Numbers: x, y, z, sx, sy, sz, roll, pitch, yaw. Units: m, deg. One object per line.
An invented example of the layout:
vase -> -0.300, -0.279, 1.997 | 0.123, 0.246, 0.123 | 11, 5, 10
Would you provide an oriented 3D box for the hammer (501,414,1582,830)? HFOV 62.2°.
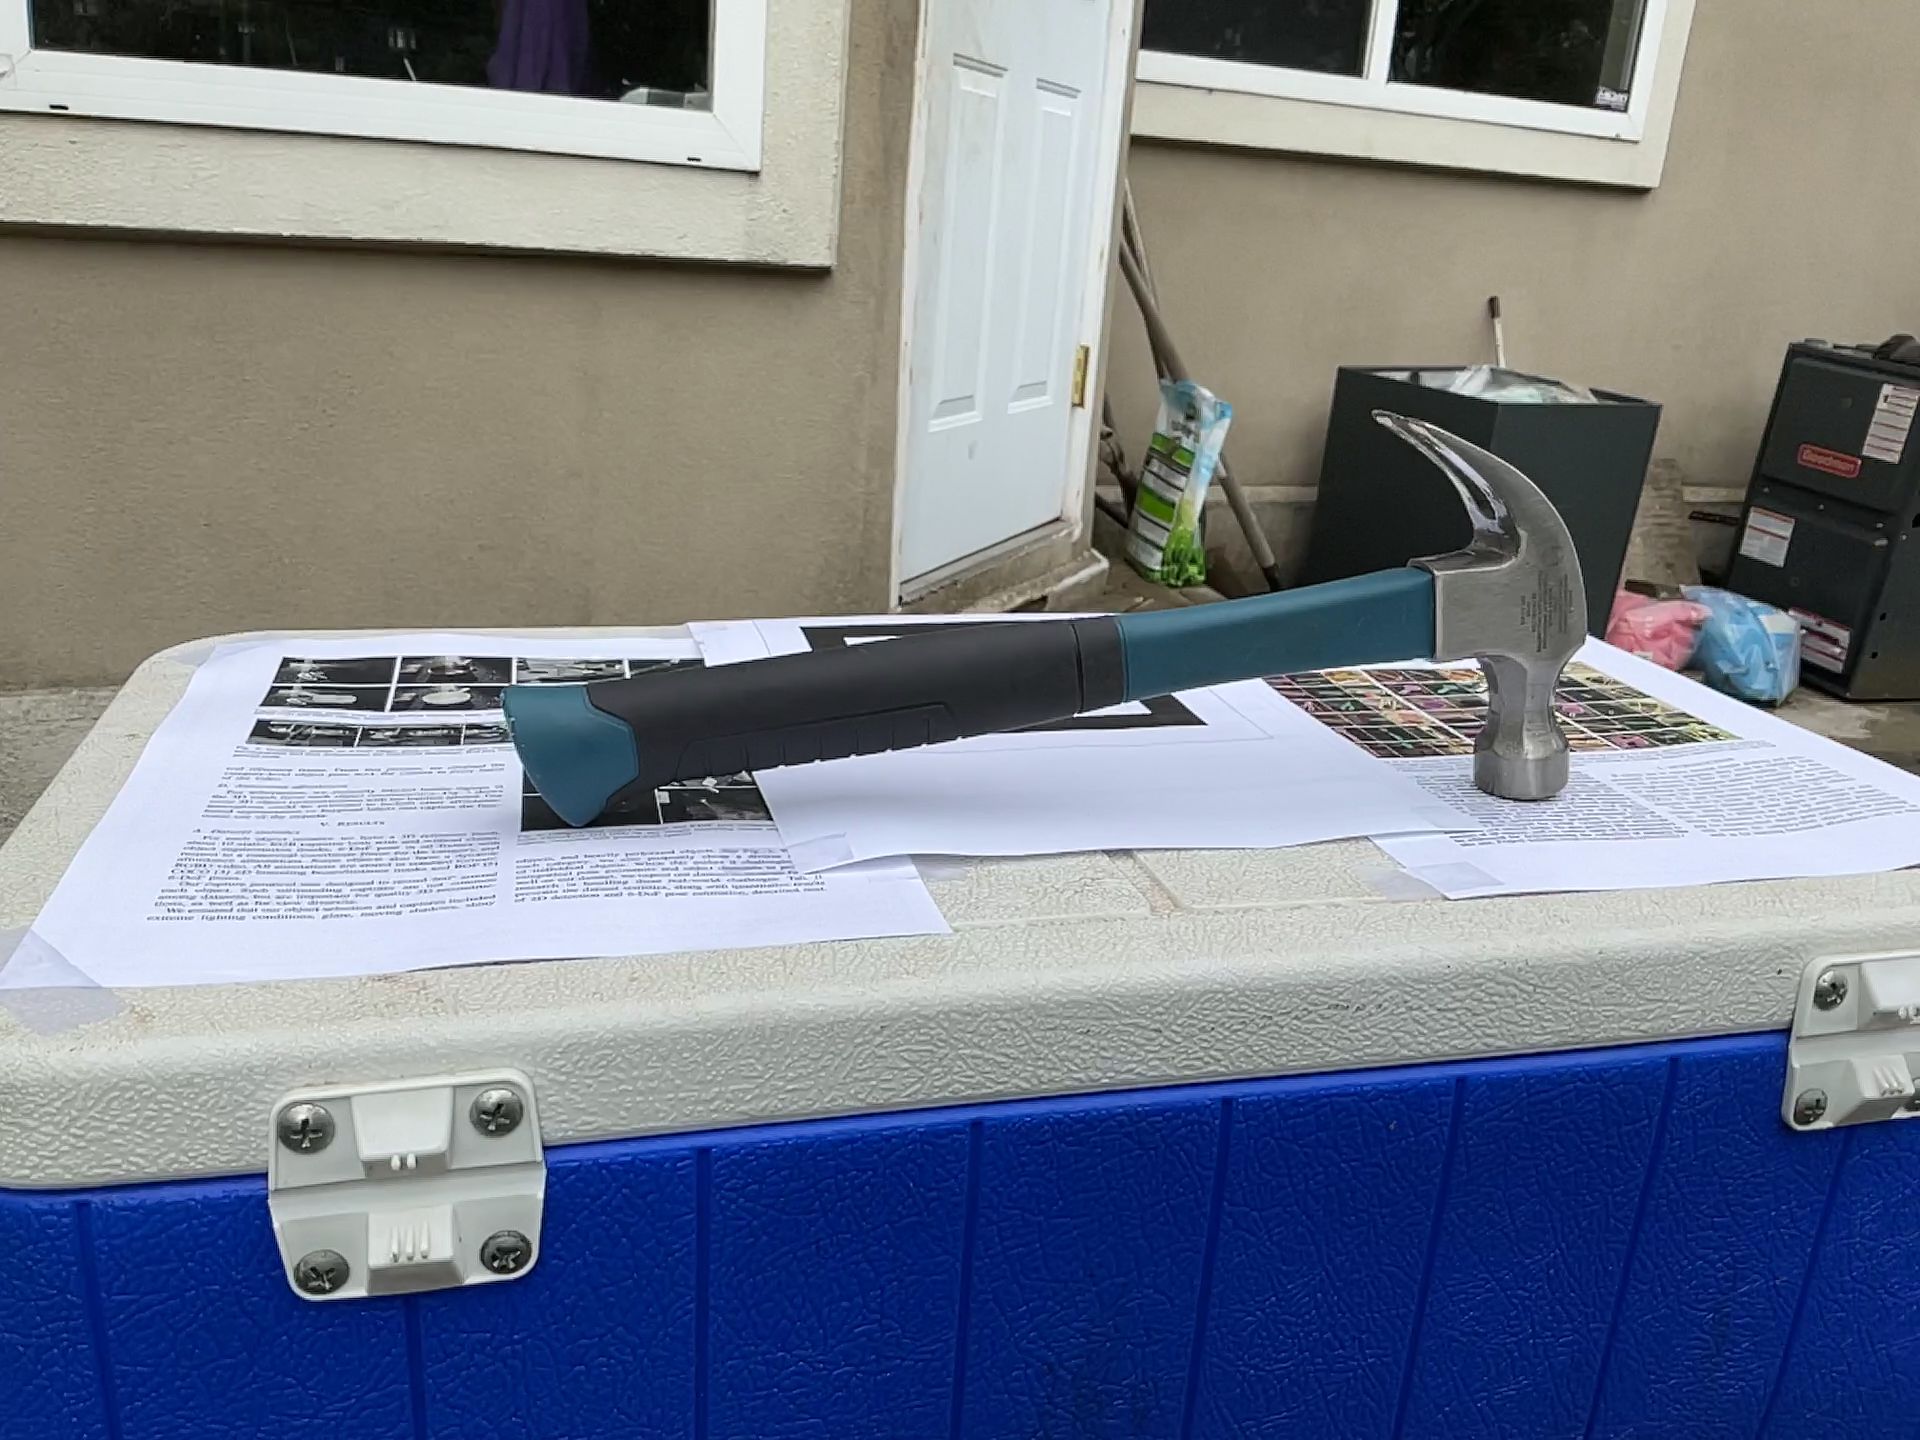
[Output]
hammer -> 0.034, -0.014, 0.482 | 0.331, 0.128, 0.033 | -9, 18, -11
